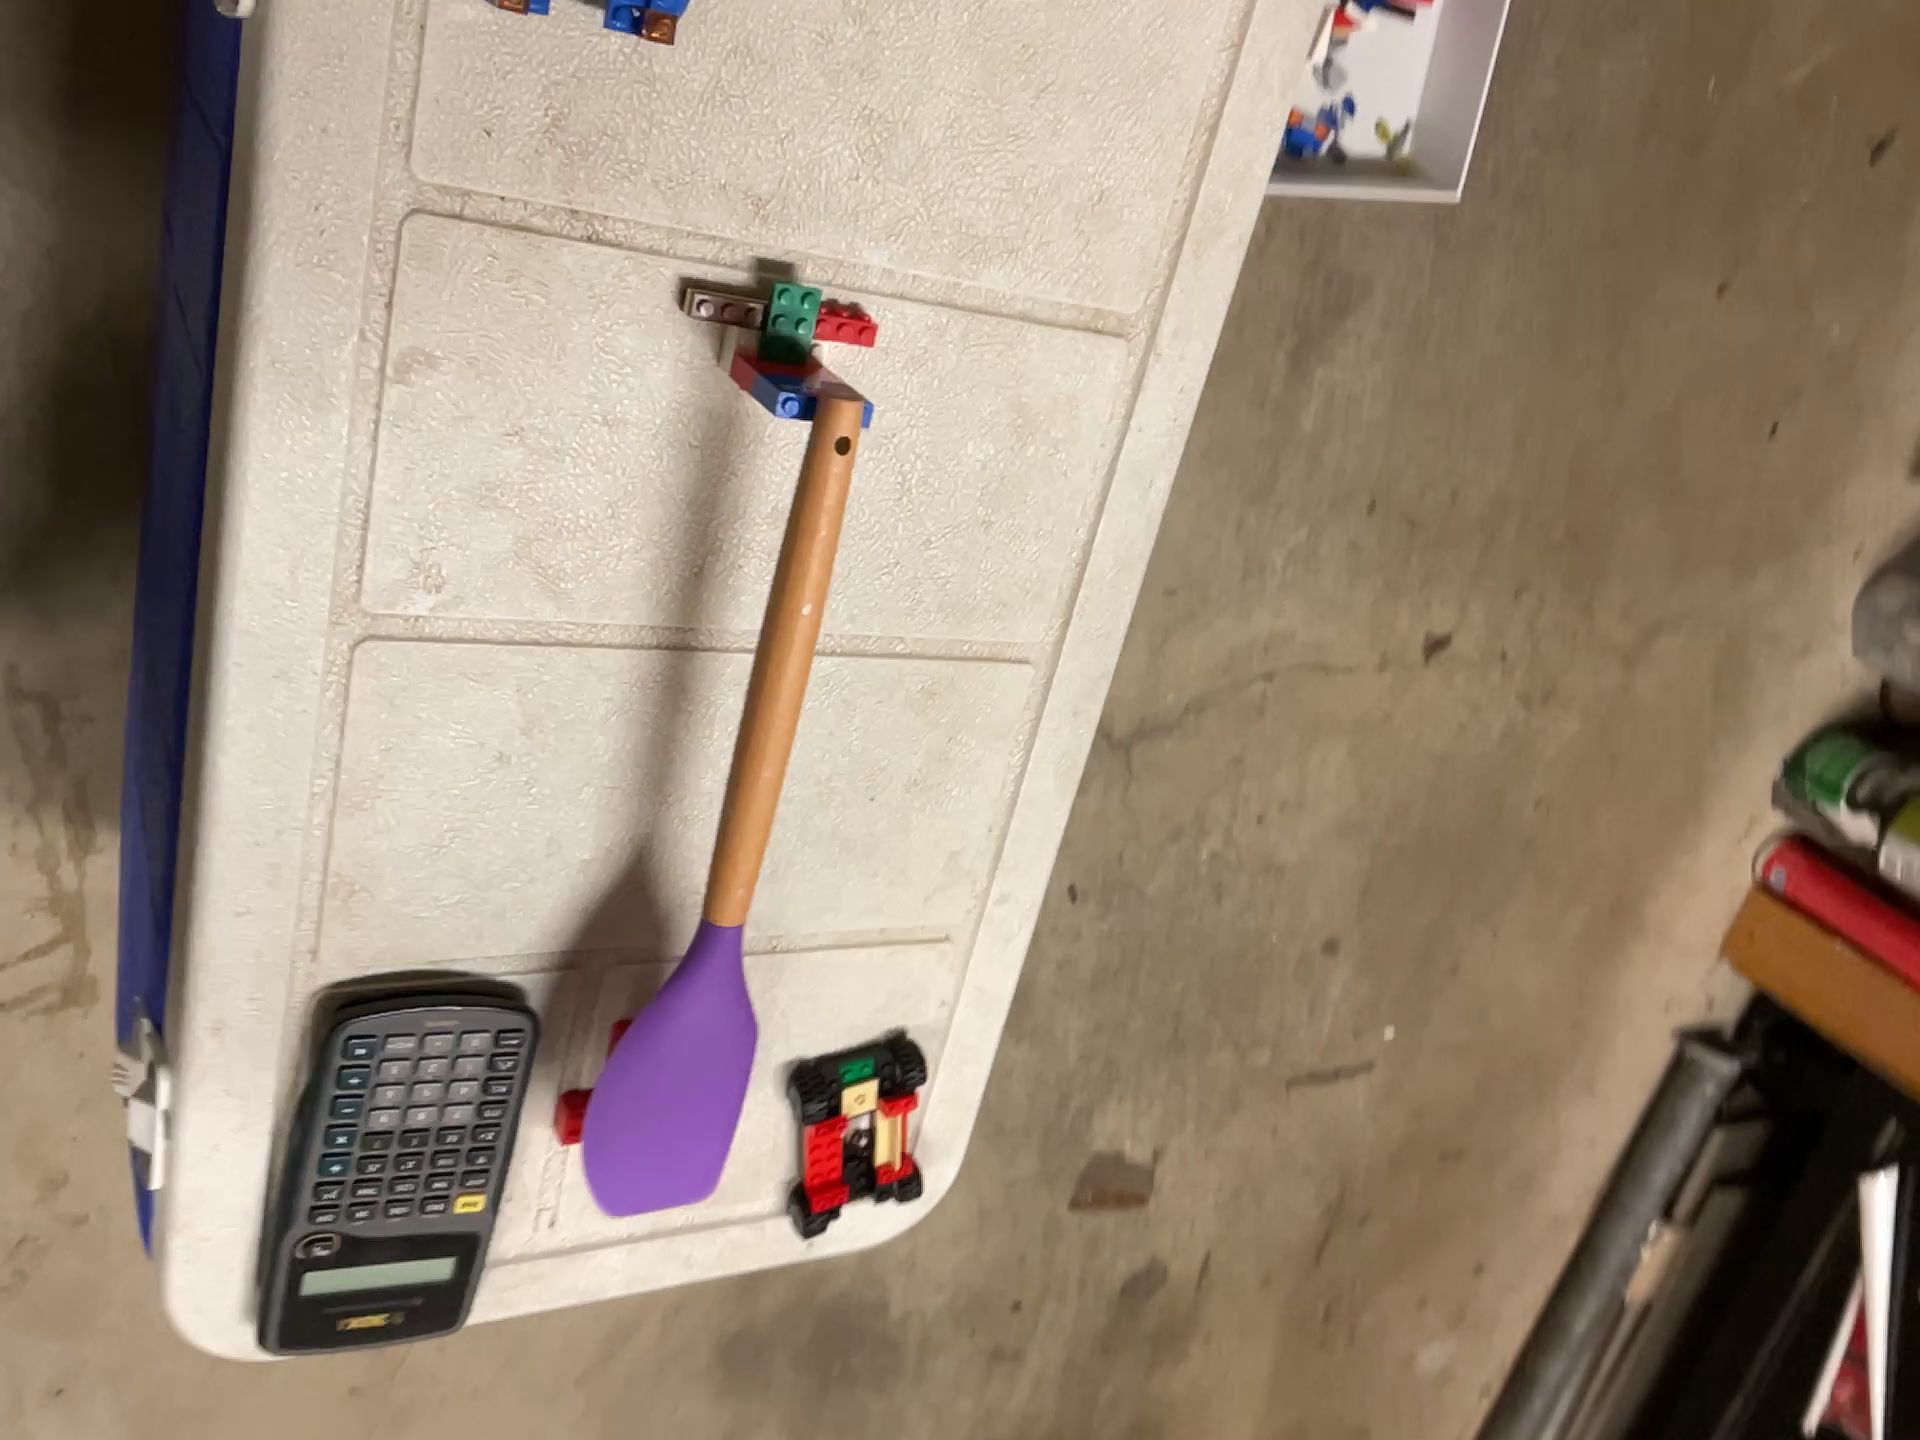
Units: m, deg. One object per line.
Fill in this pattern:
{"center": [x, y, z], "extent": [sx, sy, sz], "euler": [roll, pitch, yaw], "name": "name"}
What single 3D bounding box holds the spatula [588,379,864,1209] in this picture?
{"center": [-0.075, 0.041, 0.529], "extent": [0.060, 0.018, 0.315], "euler": [0, 118, -33], "name": "spatula"}
